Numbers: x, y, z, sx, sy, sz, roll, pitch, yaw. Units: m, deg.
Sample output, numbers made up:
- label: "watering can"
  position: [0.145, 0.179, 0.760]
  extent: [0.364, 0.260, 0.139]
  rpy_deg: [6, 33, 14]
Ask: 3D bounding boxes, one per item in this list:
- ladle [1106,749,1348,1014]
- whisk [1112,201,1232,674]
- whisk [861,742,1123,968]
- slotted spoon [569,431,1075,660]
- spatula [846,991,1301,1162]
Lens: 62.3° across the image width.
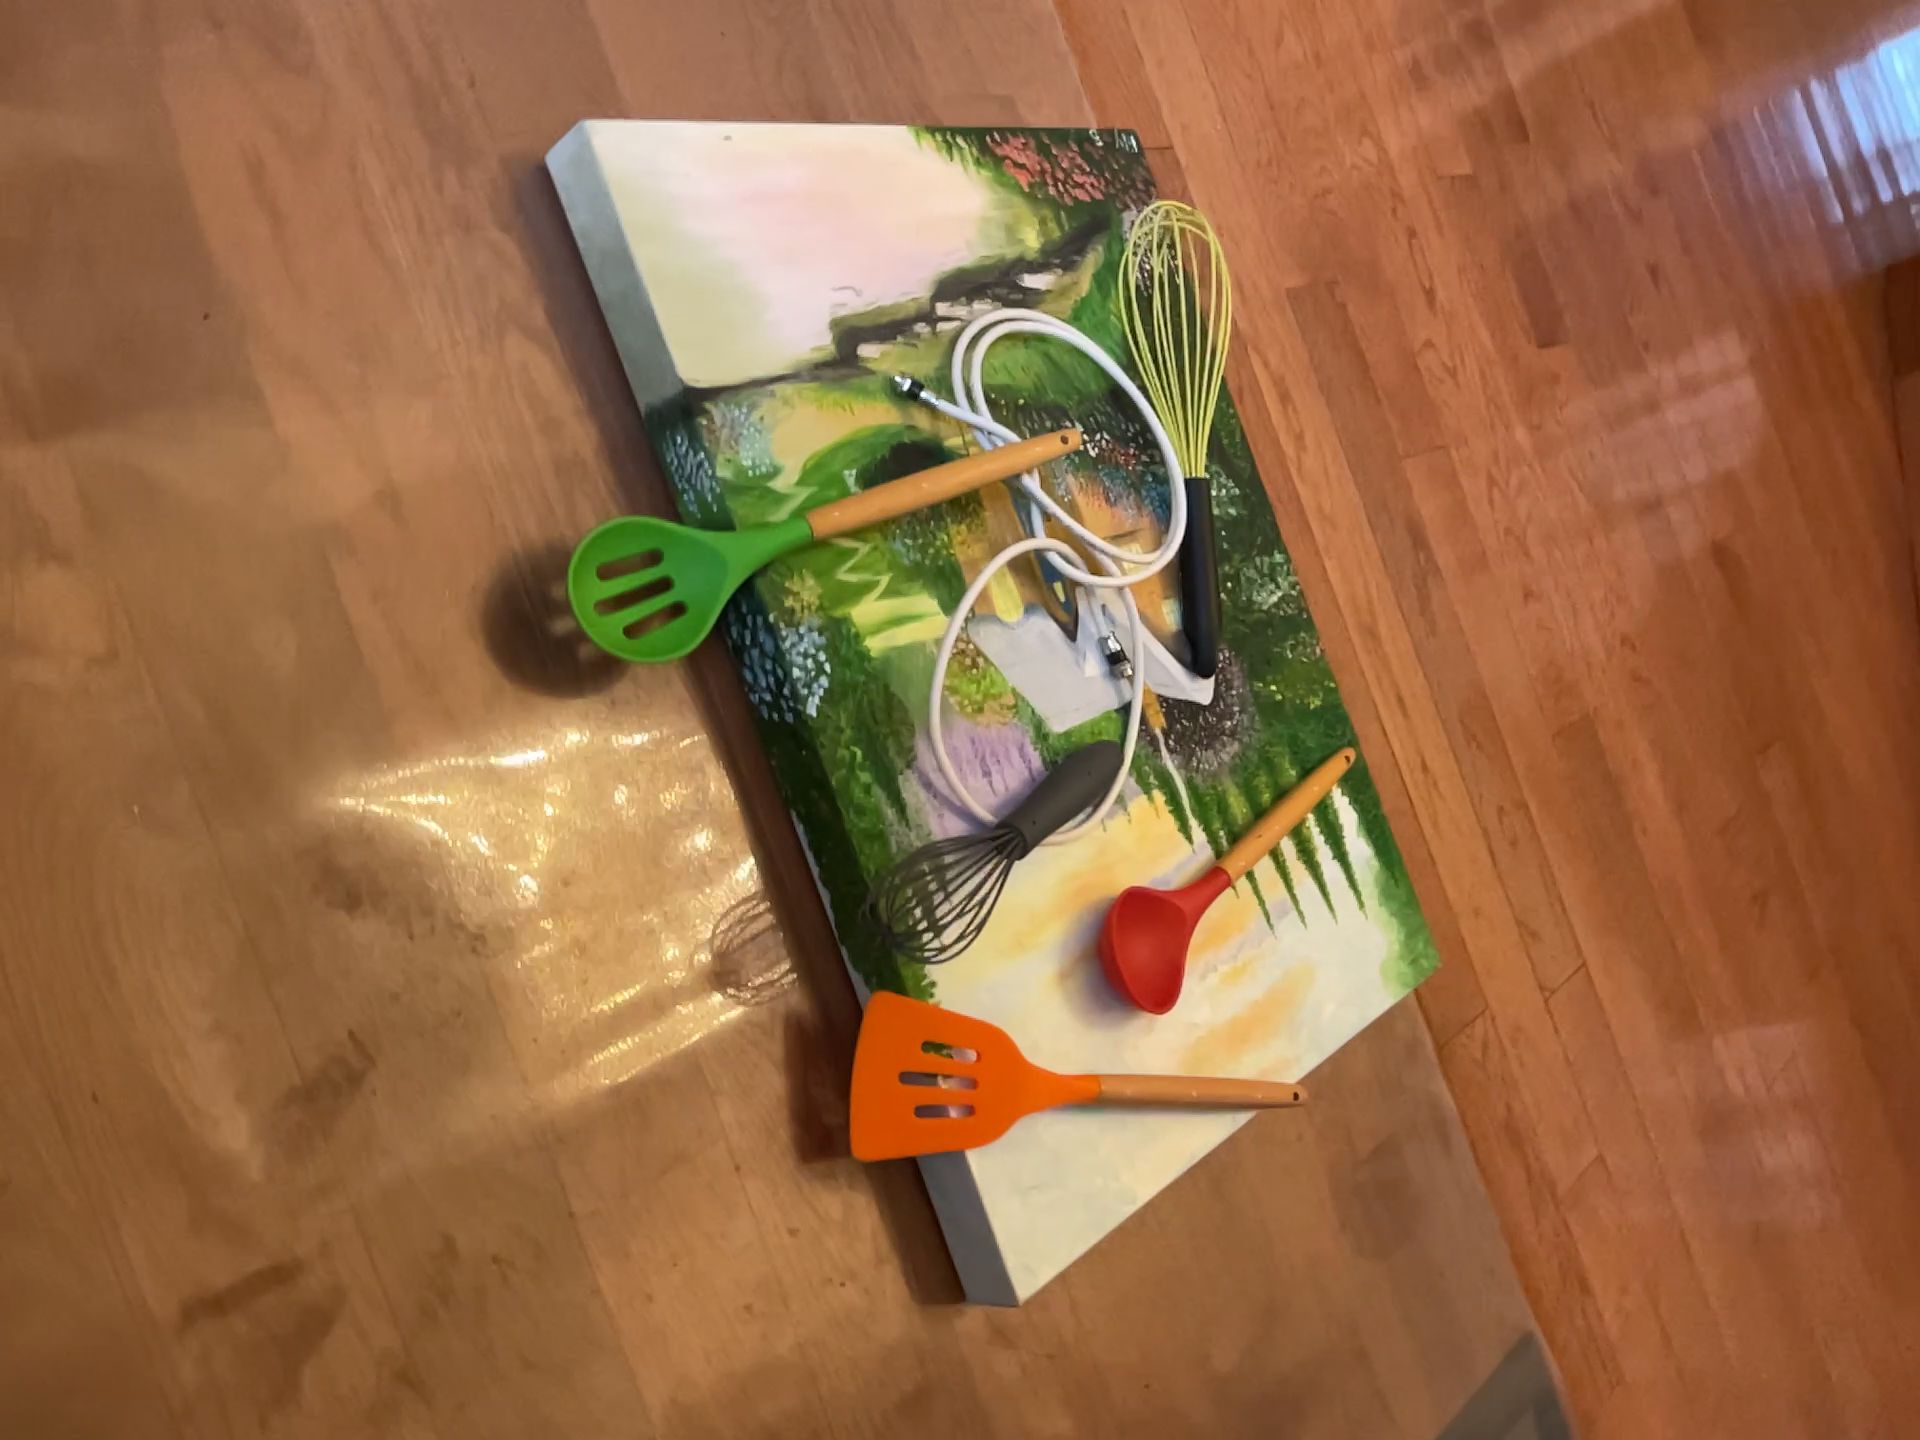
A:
- label: "ladle"
  position: [0.169, 0.083, 0.964]
  extent: [0.315, 0.031, 0.069]
  rpy_deg: [-34, 101, -47]
- label: "whisk"
  position: [0.142, -0.183, 1.015]
  extent: [0.080, 0.067, 0.312]
  rpy_deg: [2, 80, -38]
- label: "whisk"
  position: [0.027, 0.061, 0.823]
  extent: [0.239, 0.055, 0.055]
  rpy_deg: [-35, 111, -50]
- label: "slotted spoon"
  position: [-0.058, -0.101, 0.802]
  extent: [0.313, 0.031, 0.070]
  rpy_deg: [-24, 93, -33]
- label: "spatula"
  position: [0.077, 0.196, 0.851]
  extent: [0.322, 0.041, 0.081]
  rpy_deg: [14, 78, -42]
